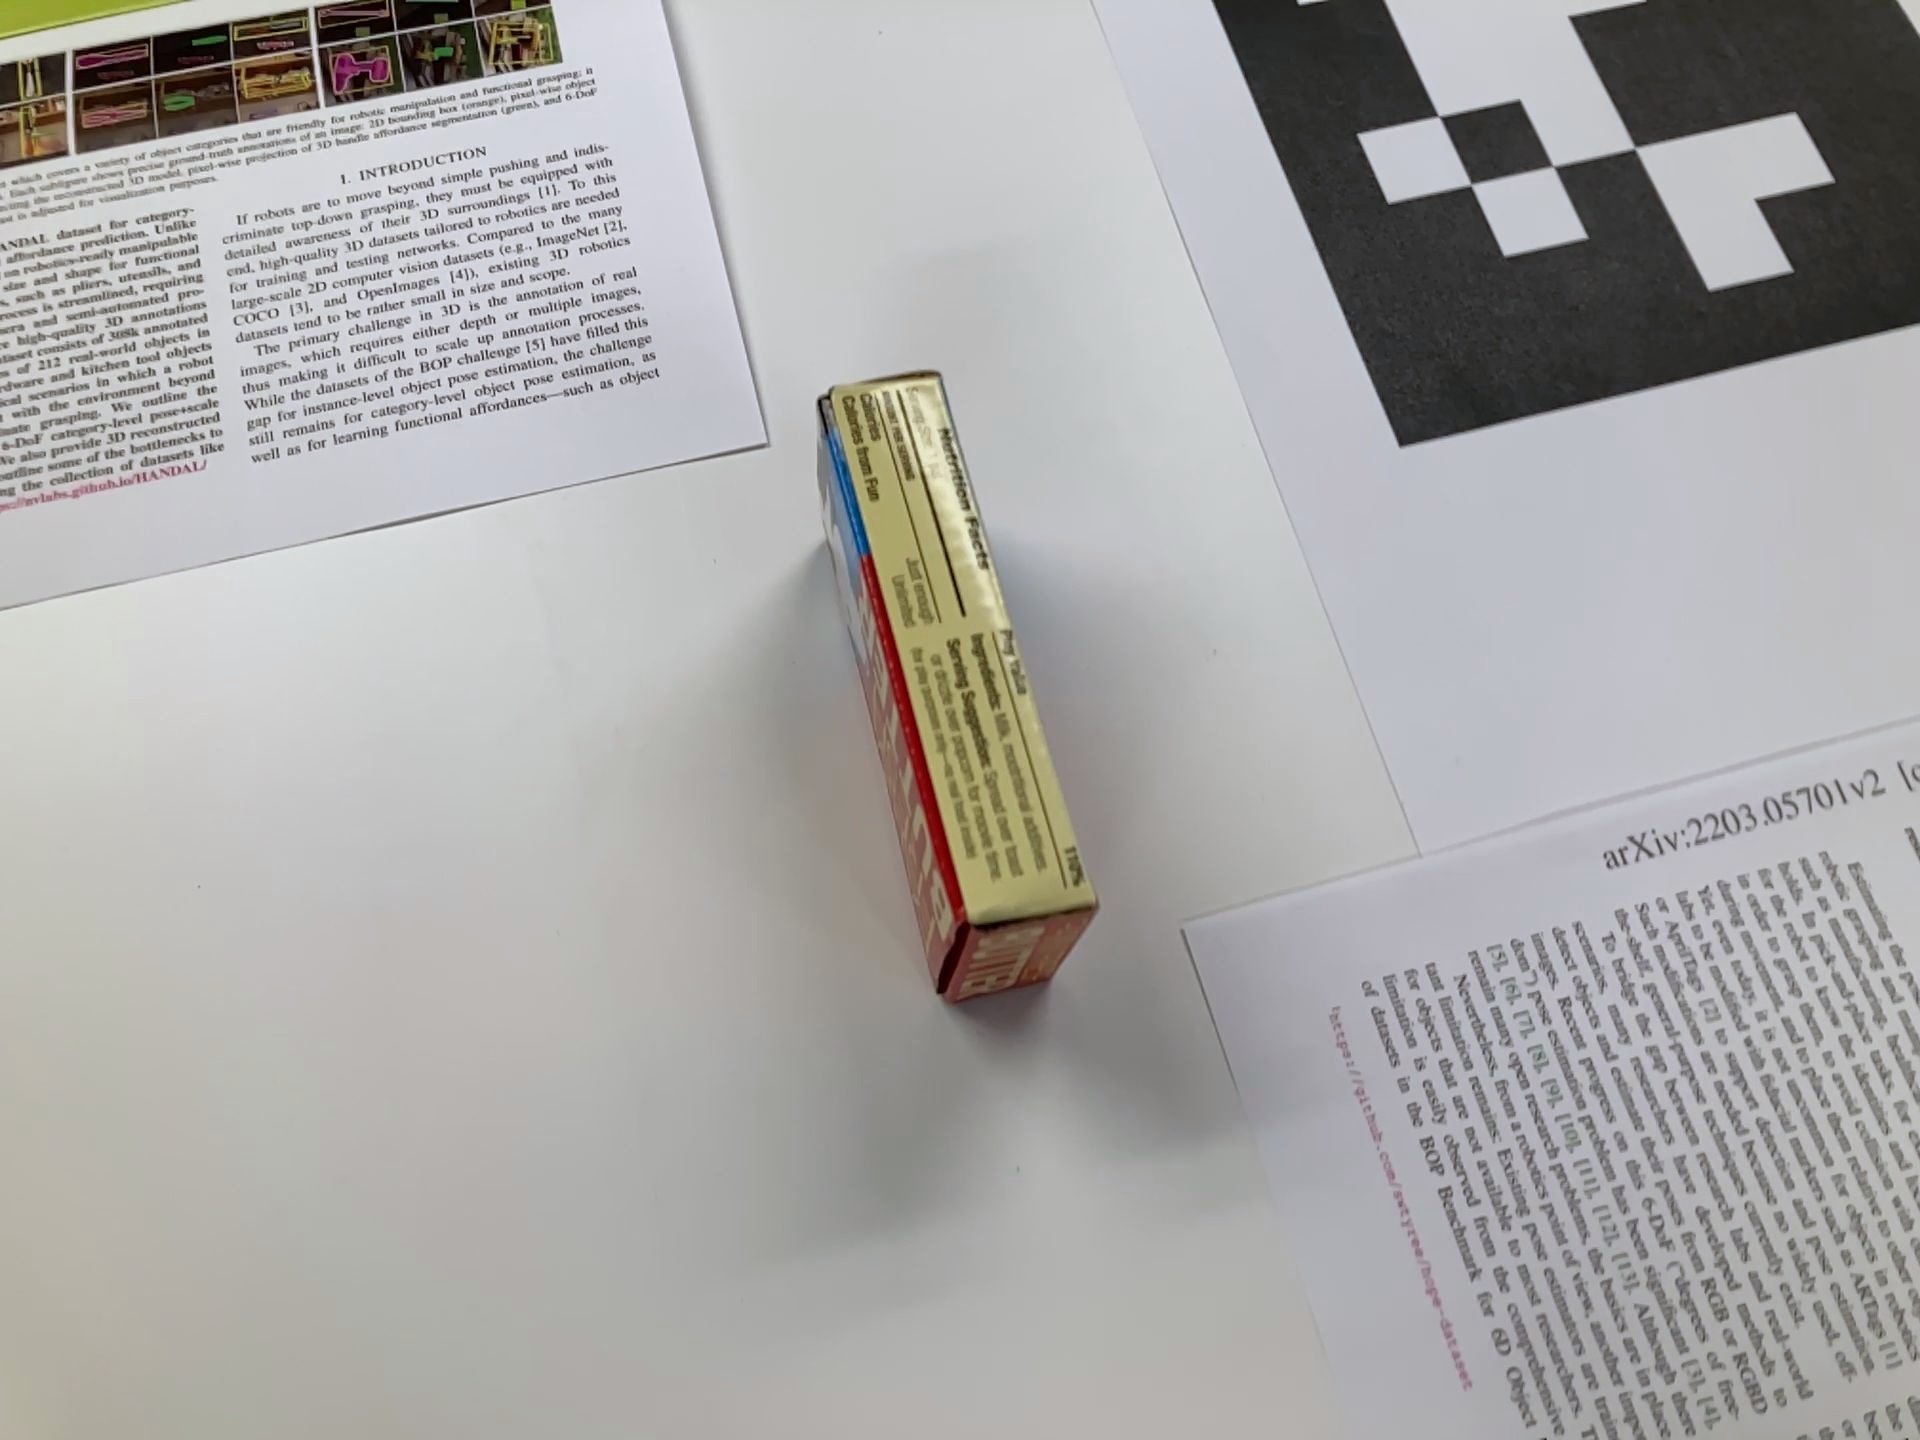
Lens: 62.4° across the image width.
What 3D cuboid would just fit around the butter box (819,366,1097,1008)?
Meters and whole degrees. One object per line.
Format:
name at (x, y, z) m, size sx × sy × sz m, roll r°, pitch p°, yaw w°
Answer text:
butter box at (-0.003, -0.005, 0.284) m, size 0.024 × 0.053 × 0.103 m, roll -12°, pitch 70°, yaw -9°
